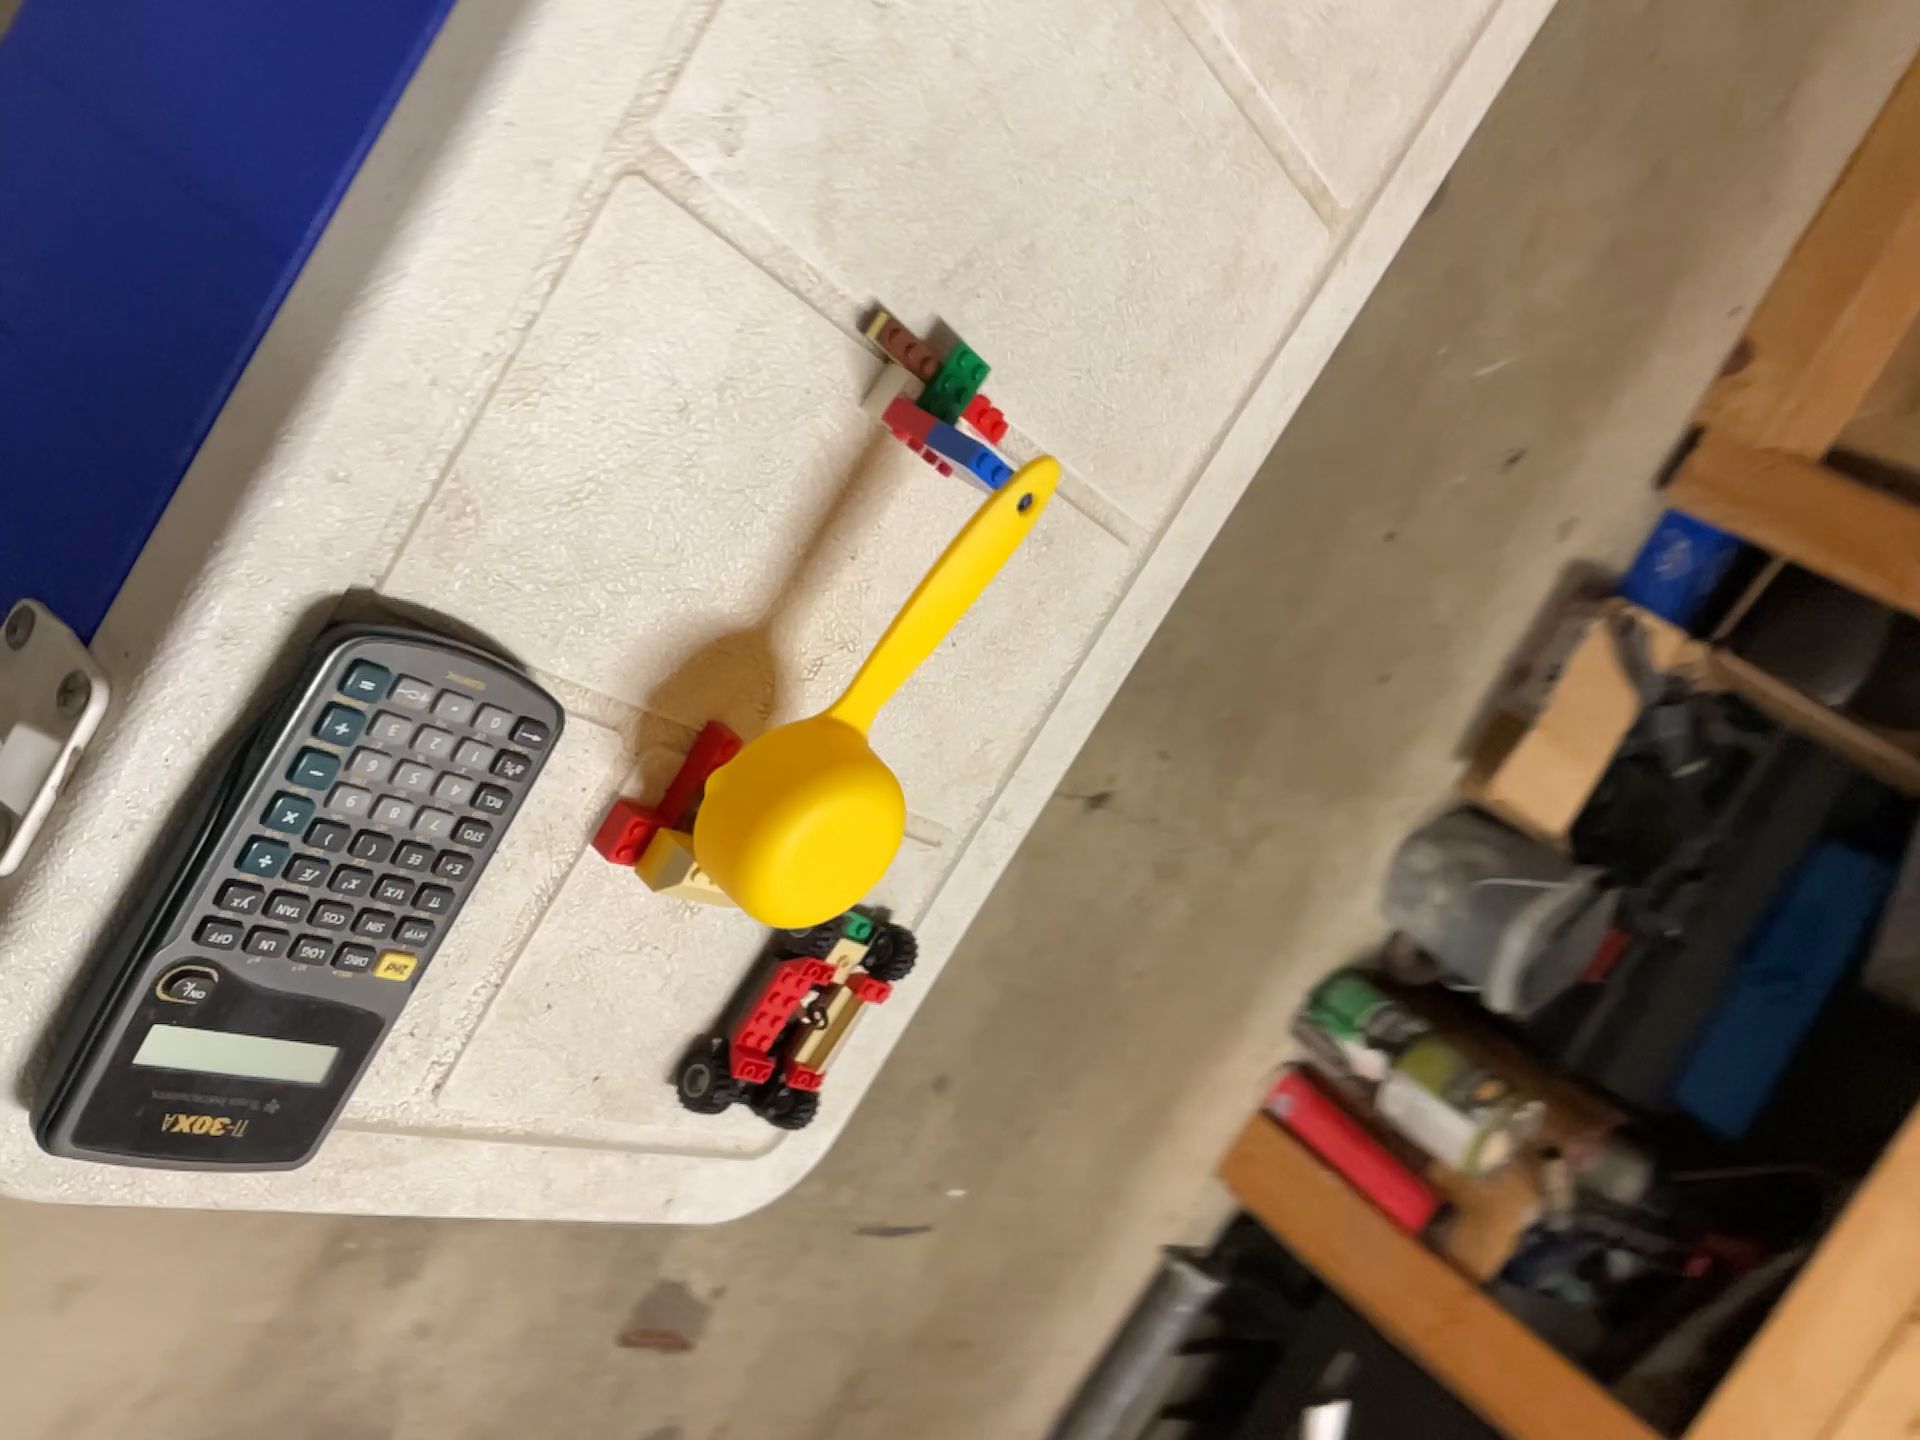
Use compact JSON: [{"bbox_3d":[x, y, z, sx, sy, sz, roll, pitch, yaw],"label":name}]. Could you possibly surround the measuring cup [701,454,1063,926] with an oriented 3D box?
[{"bbox_3d":[-0.013,-0.006,0.453,0.156,0.029,0.062,-53,143,7],"label":"measuring cup"}]
